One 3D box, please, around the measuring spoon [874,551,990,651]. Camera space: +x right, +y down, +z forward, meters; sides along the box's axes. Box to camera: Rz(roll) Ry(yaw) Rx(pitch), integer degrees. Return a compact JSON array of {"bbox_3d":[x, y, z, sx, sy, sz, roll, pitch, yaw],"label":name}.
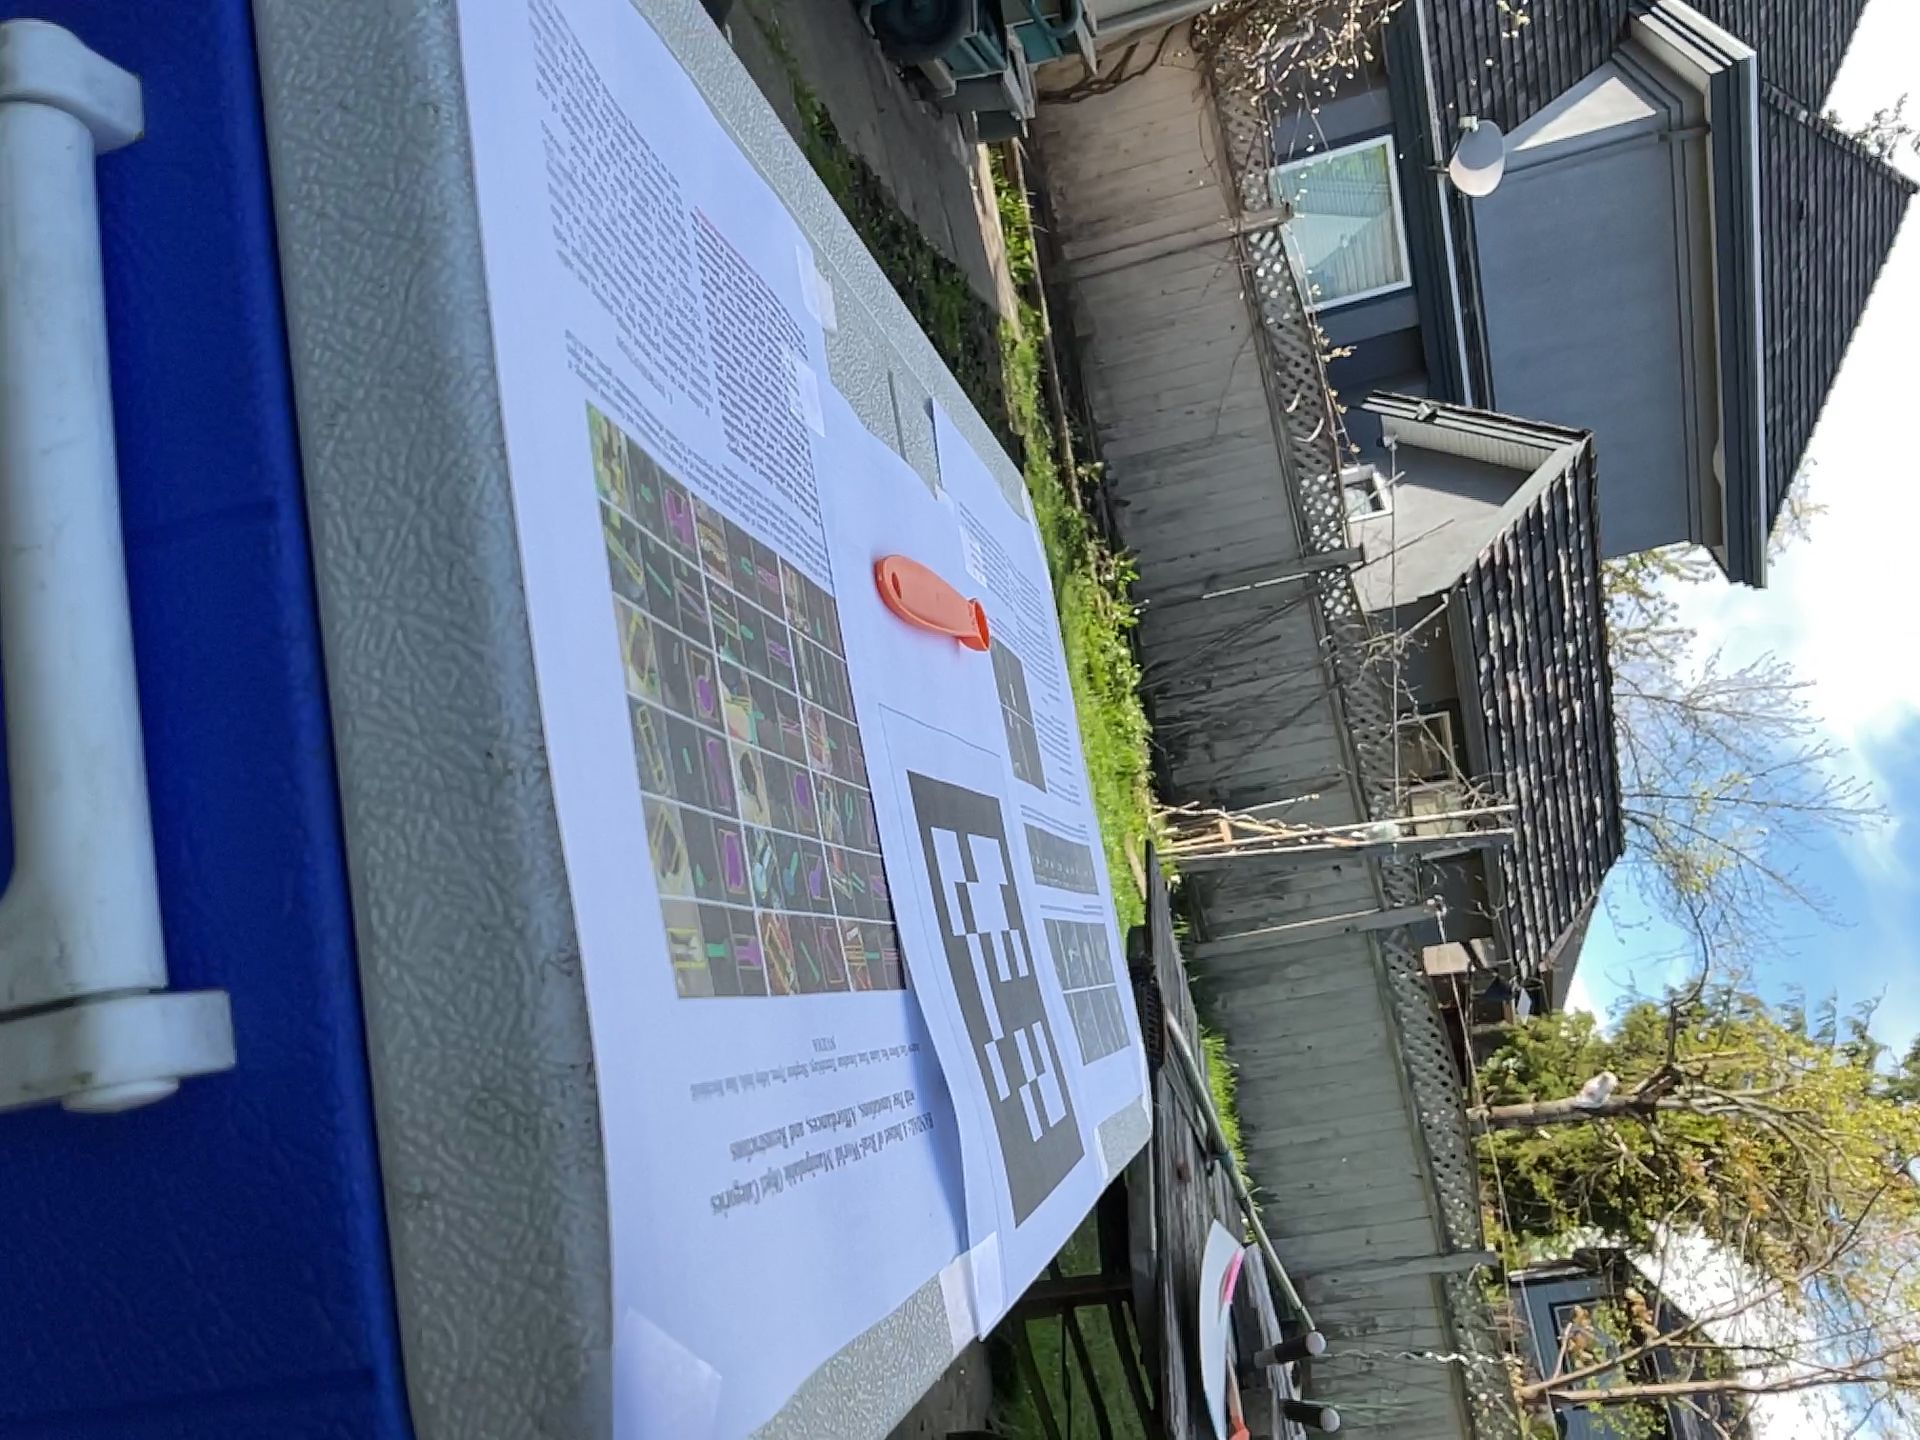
[{"bbox_3d":[-0.010,-0.037,0.517,0.117,0.011,0.021,15,63,-73],"label":"measuring spoon"}]
